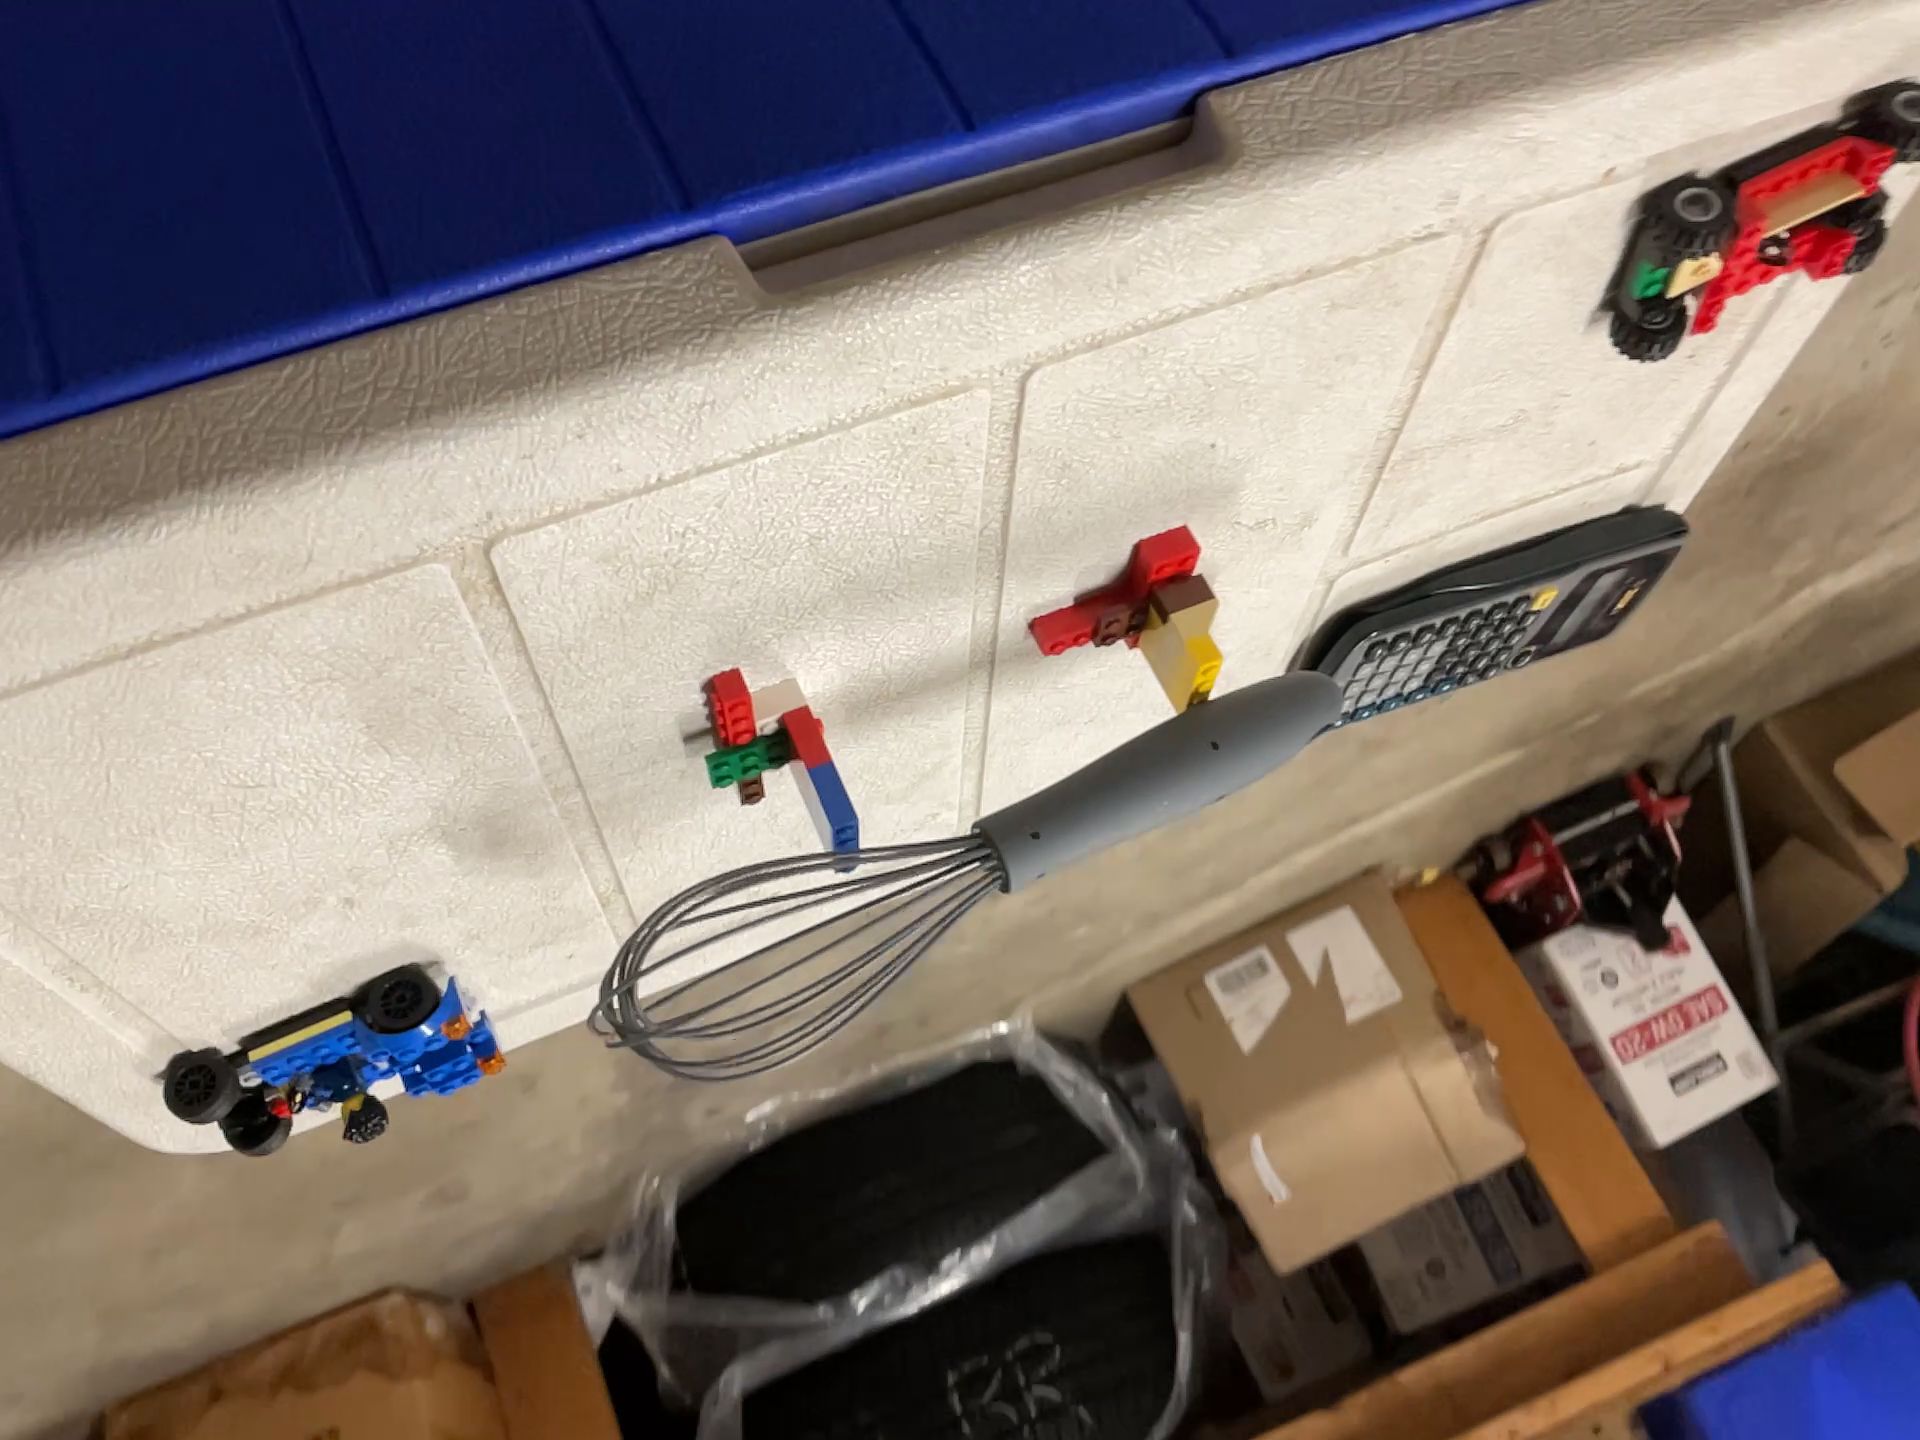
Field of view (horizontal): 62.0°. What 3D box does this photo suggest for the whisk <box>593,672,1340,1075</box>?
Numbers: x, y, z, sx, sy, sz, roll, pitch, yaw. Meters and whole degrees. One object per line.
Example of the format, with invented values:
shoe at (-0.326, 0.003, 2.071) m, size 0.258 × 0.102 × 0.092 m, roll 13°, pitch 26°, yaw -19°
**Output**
whisk at (0.009, 0.037, 0.451) m, size 0.239 × 0.055 × 0.055 m, roll -23°, pitch 157°, yaw -18°
